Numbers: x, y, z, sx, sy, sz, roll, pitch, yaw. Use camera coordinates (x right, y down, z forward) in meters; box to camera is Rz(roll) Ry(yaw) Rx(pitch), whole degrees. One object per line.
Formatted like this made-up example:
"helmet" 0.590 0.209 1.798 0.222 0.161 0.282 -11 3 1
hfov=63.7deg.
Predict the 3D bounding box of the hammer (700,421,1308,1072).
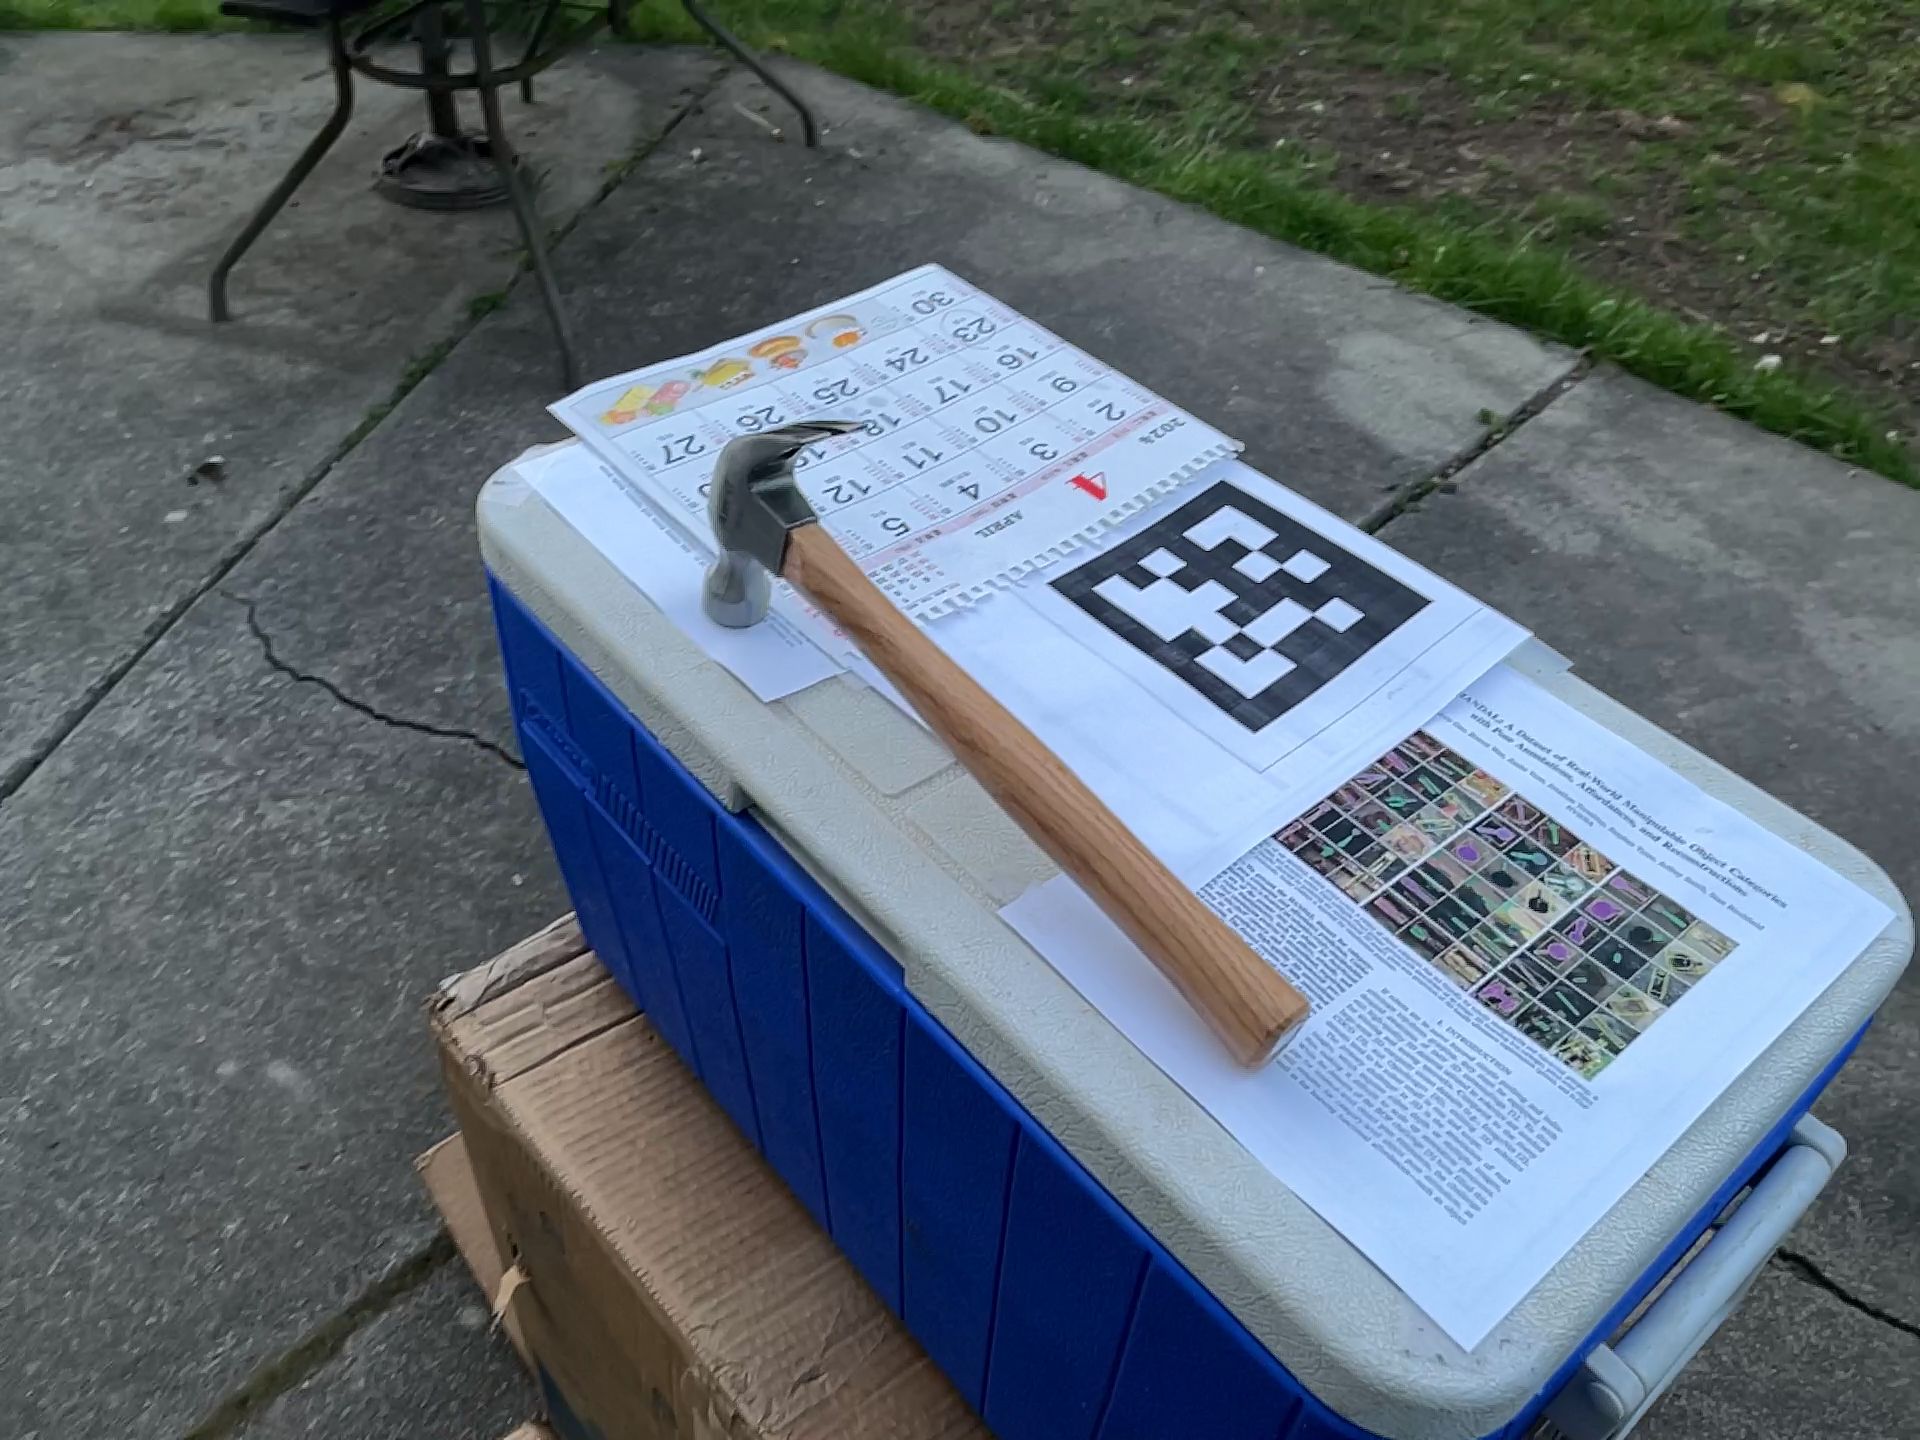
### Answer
"hammer" 0.006 0.001 0.597 0.031 0.130 0.331 -26 60 -35
